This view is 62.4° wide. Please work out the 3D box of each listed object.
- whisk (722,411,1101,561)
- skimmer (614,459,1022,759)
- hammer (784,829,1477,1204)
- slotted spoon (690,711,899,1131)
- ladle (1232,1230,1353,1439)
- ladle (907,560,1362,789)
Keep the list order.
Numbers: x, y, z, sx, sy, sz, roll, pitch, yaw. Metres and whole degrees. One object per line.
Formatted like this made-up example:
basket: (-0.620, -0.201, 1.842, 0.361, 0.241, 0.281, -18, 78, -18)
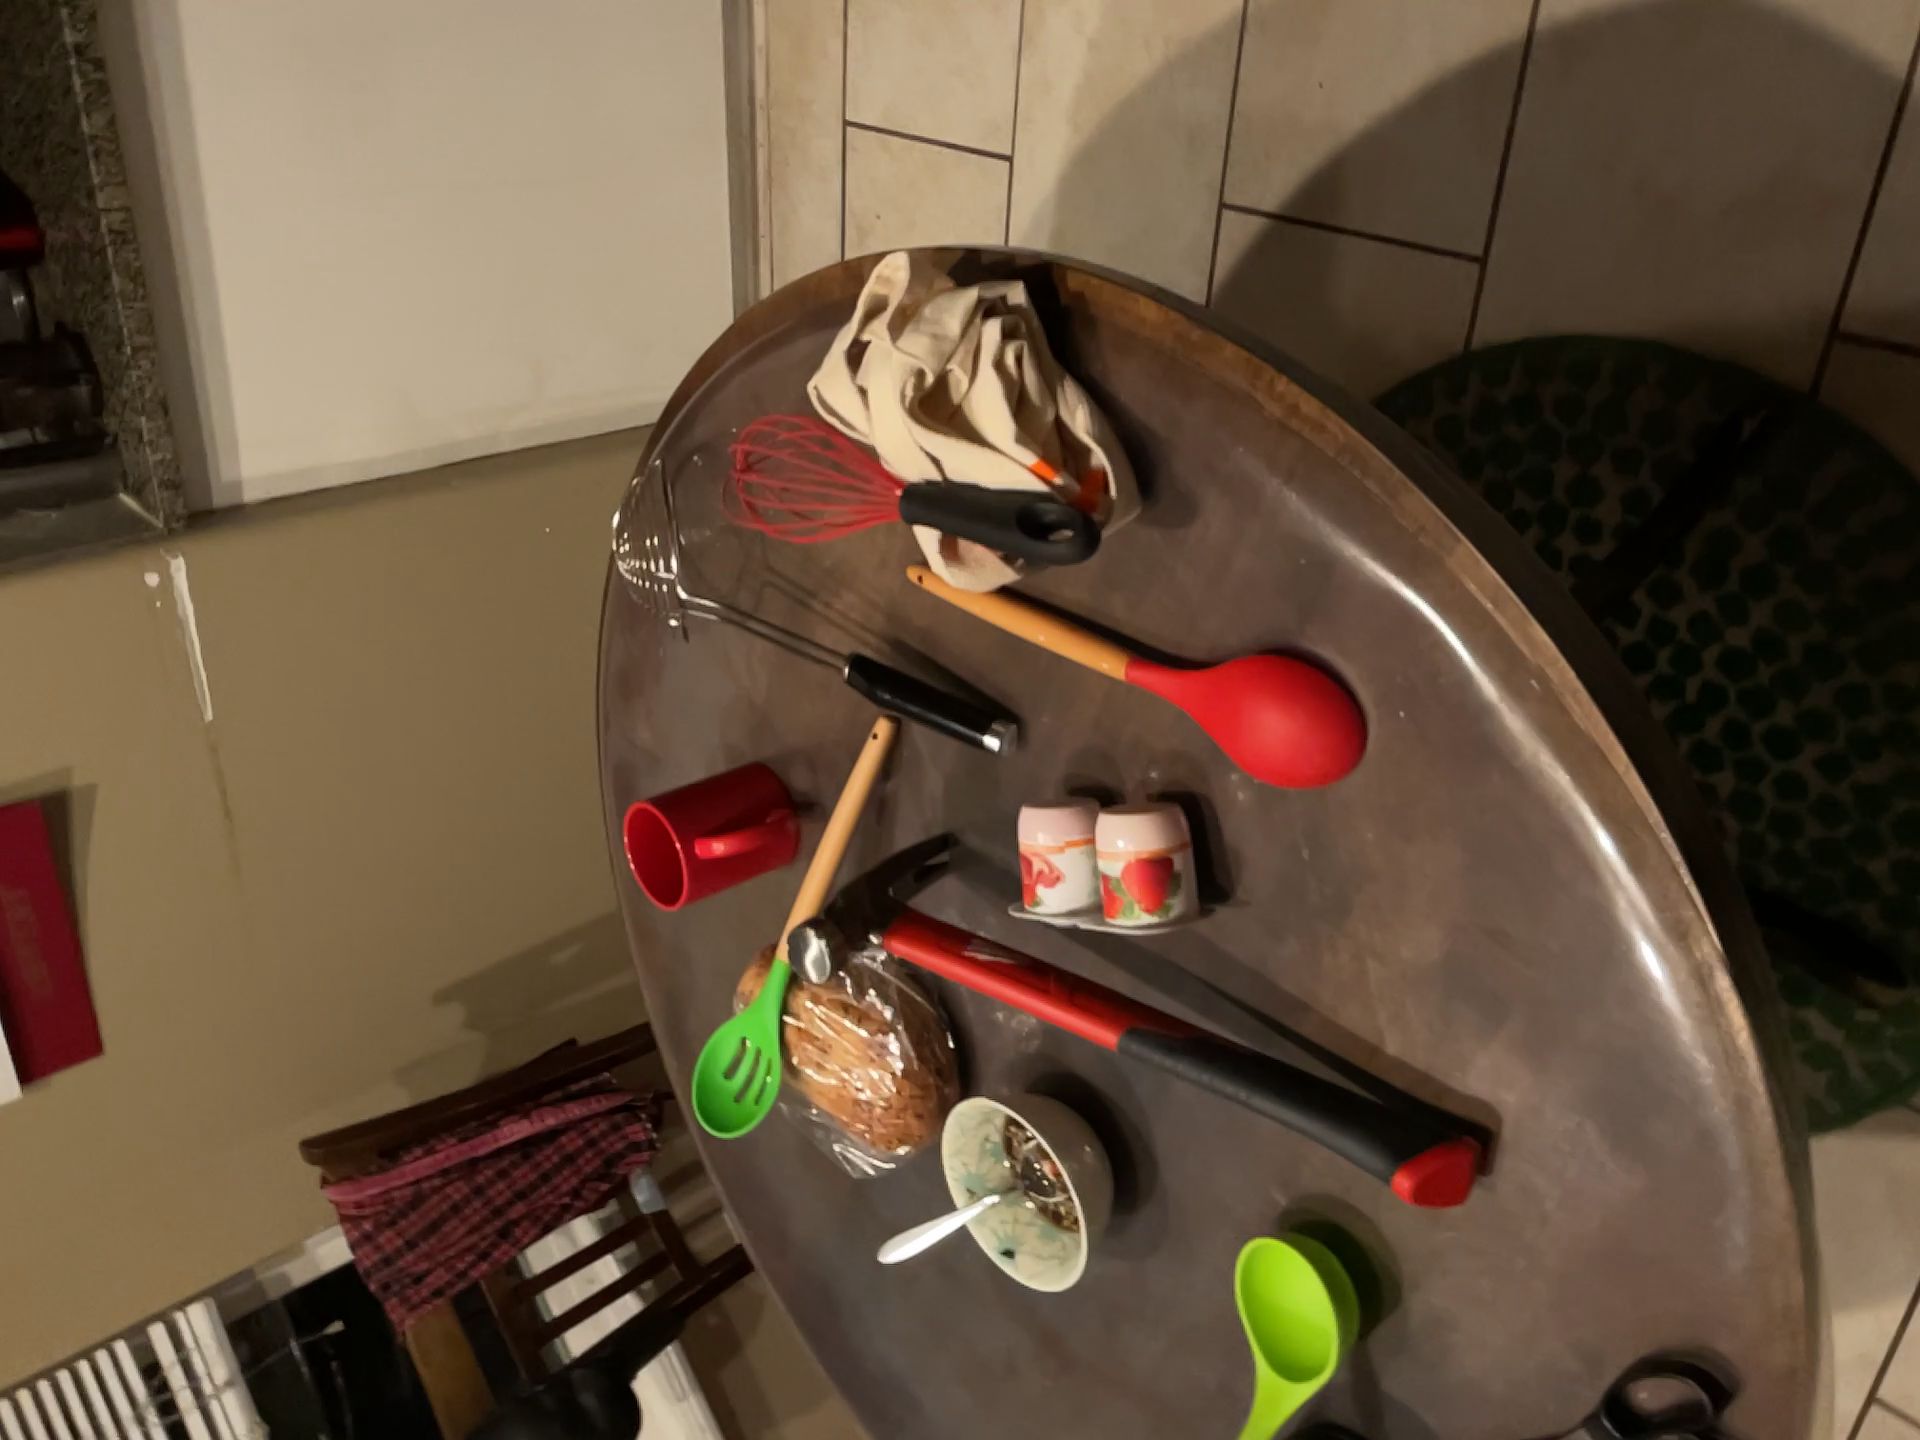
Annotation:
whisk: (-0.037, -0.122, 0.855, 0.296, 0.073, 0.073, 19, 119, 44)
skimmer: (-0.096, -0.067, 1.027, 0.364, 0.090, 0.127, 25, 133, 29)
hammer: (0.094, 0.157, 0.867, 0.387, 0.143, 0.038, 18, 122, 31)
slotted spoon: (-0.104, 0.135, 1.048, 0.070, 0.031, 0.313, 33, 107, 31)
ladle: (0.118, 0.419, 0.820, 0.062, 0.320, 0.078, 35, 167, -27)
ladle: (0.074, -0.038, 0.841, 0.316, 0.031, 0.069, 28, 126, 43)
